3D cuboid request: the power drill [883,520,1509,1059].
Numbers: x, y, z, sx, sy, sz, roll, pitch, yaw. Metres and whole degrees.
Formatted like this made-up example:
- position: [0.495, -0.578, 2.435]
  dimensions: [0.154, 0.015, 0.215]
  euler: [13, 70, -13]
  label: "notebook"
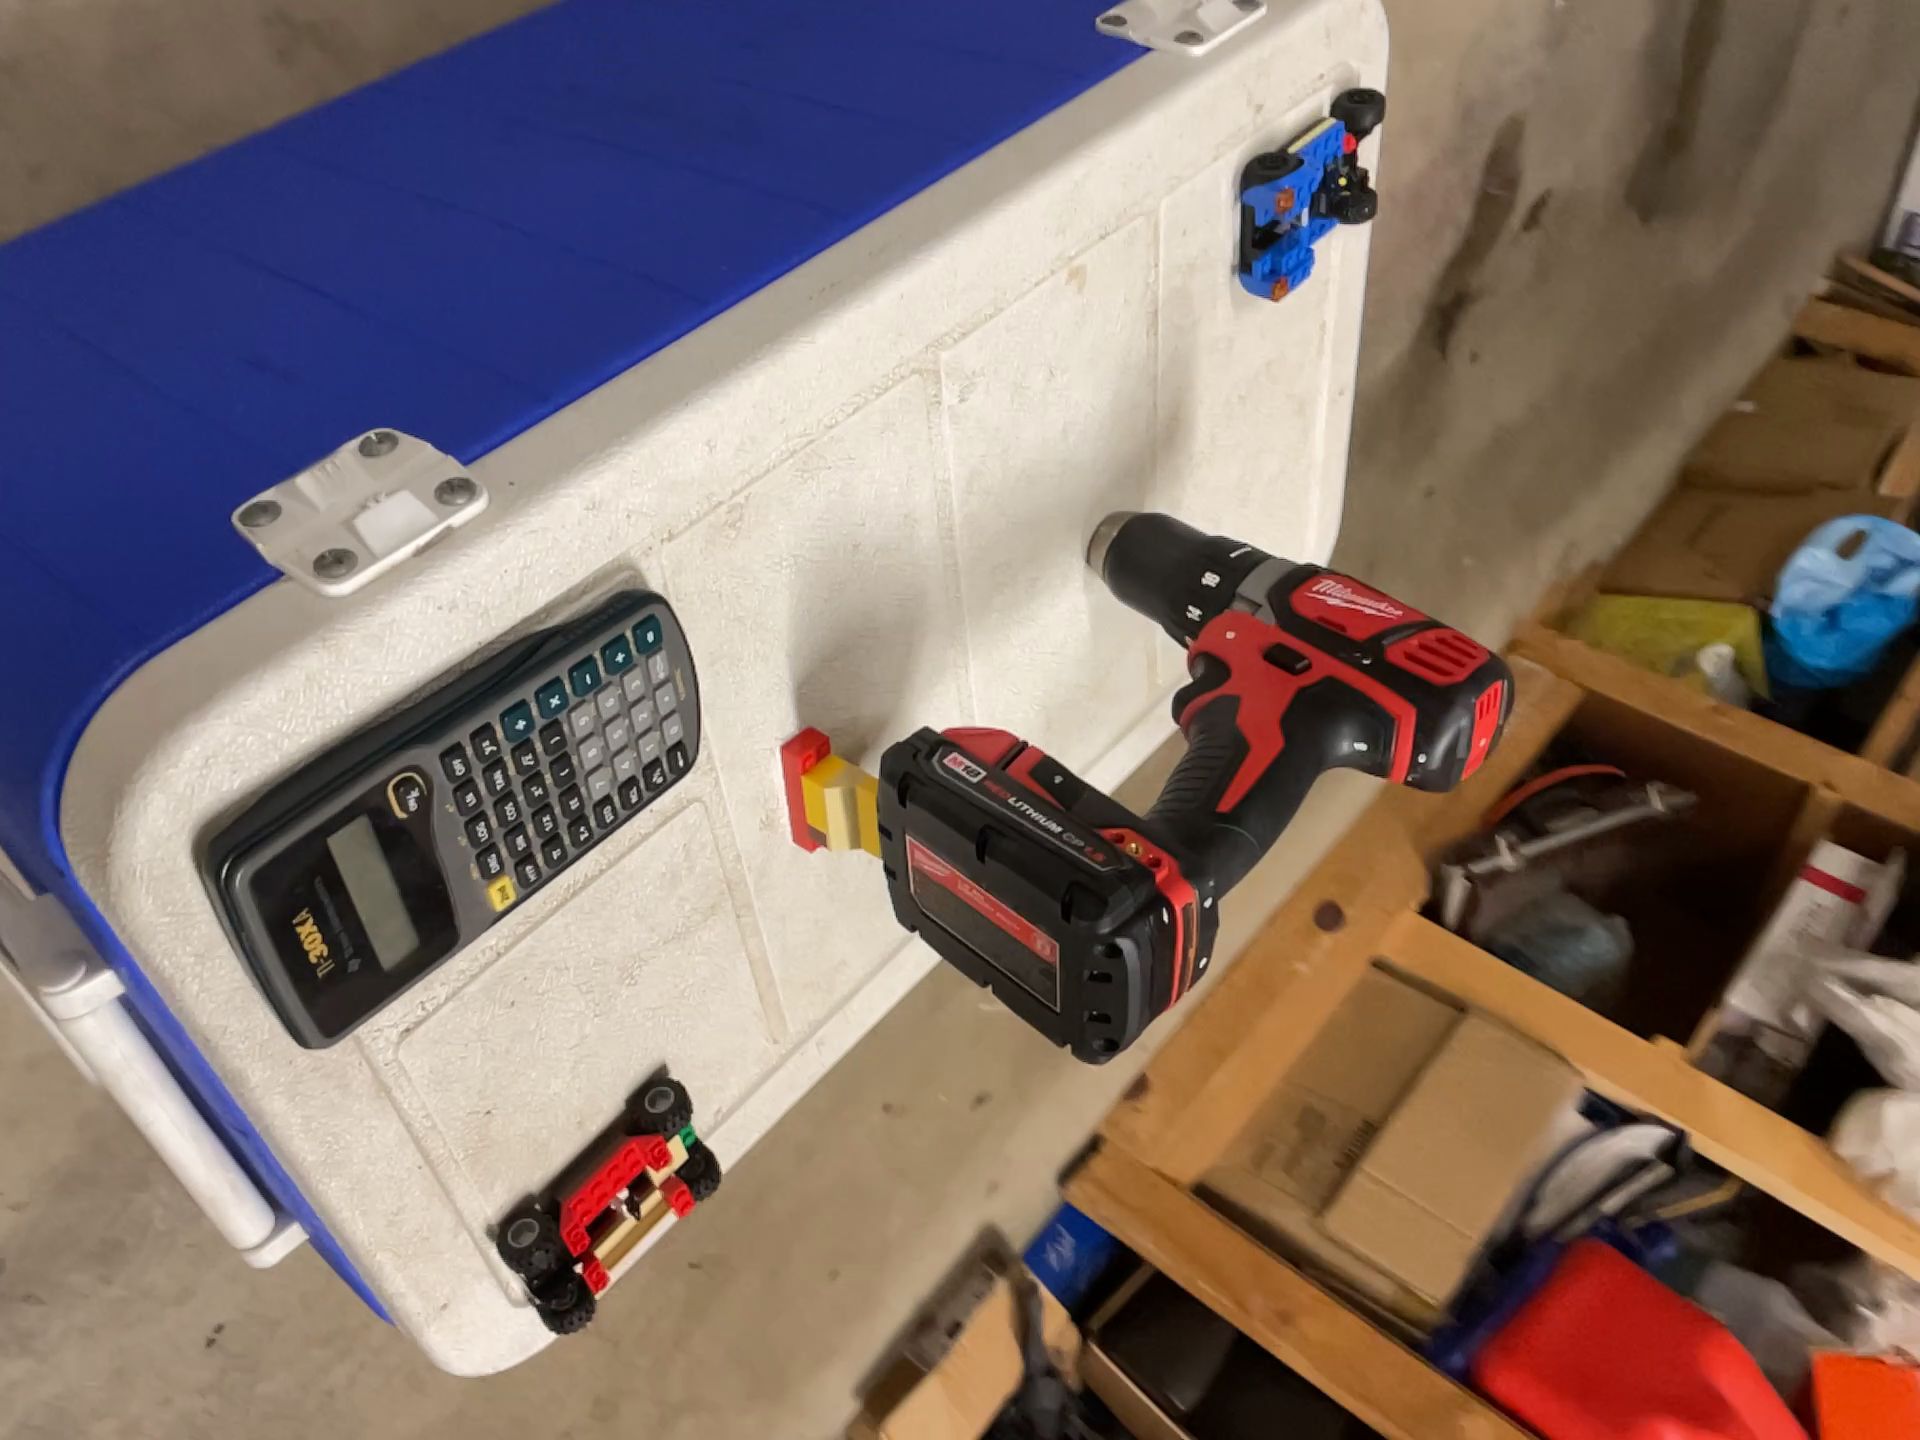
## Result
- position: [0.074, 0.003, 0.613]
  dimensions: [0.227, 0.188, 0.080]
  euler: [-34, 139, -30]
  label: "power drill"
